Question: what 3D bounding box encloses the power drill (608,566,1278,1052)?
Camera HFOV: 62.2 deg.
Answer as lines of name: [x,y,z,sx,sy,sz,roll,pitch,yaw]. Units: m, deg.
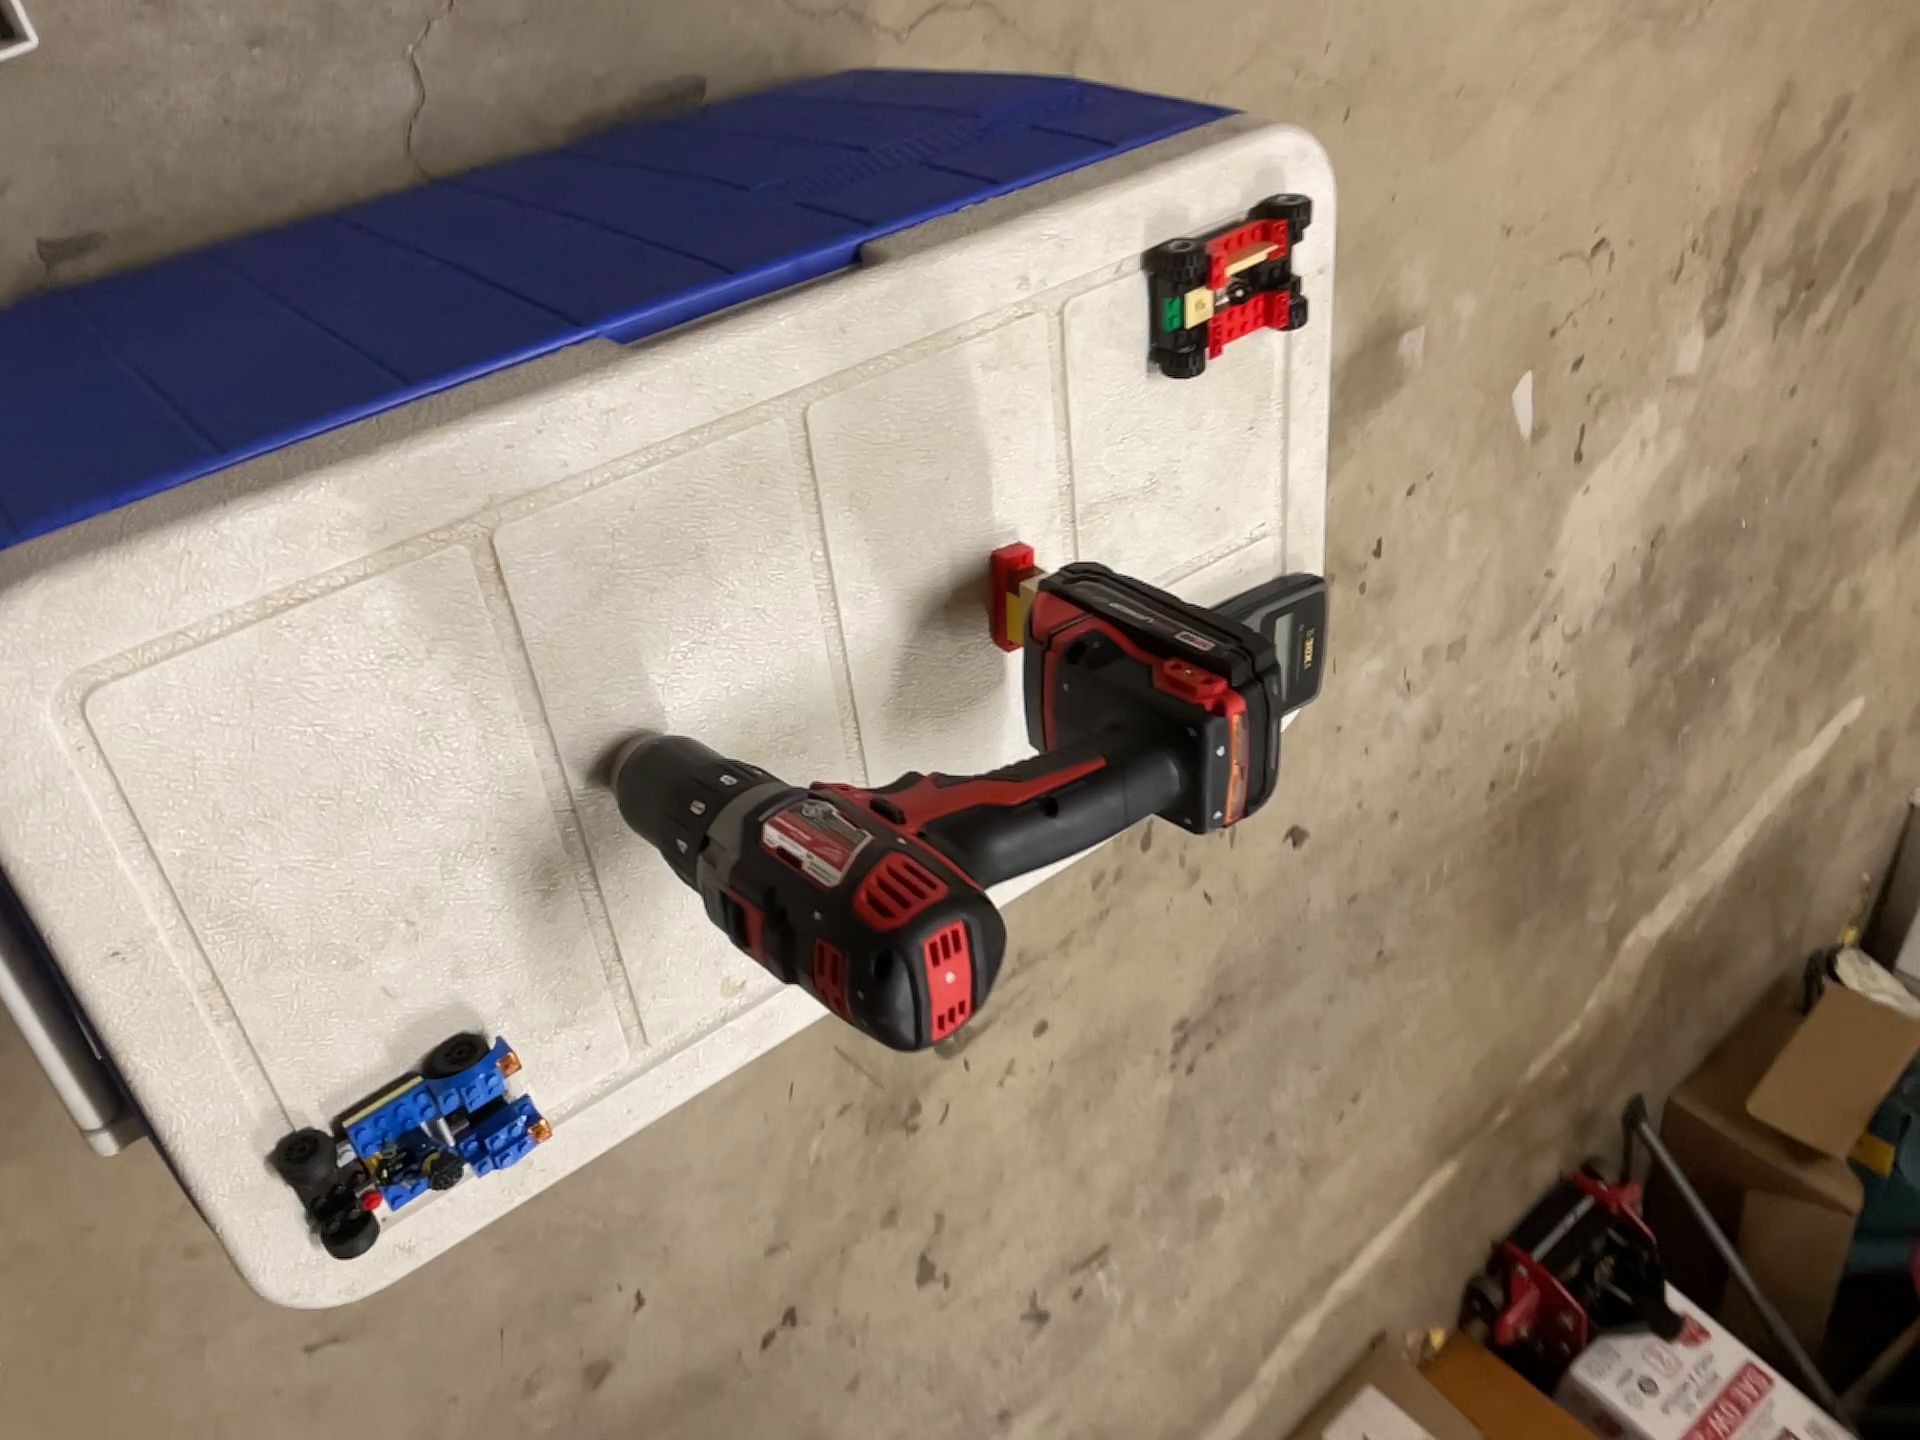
power drill: [-0.007,0.019,0.620,0.227,0.188,0.080,-29,131,-34]
